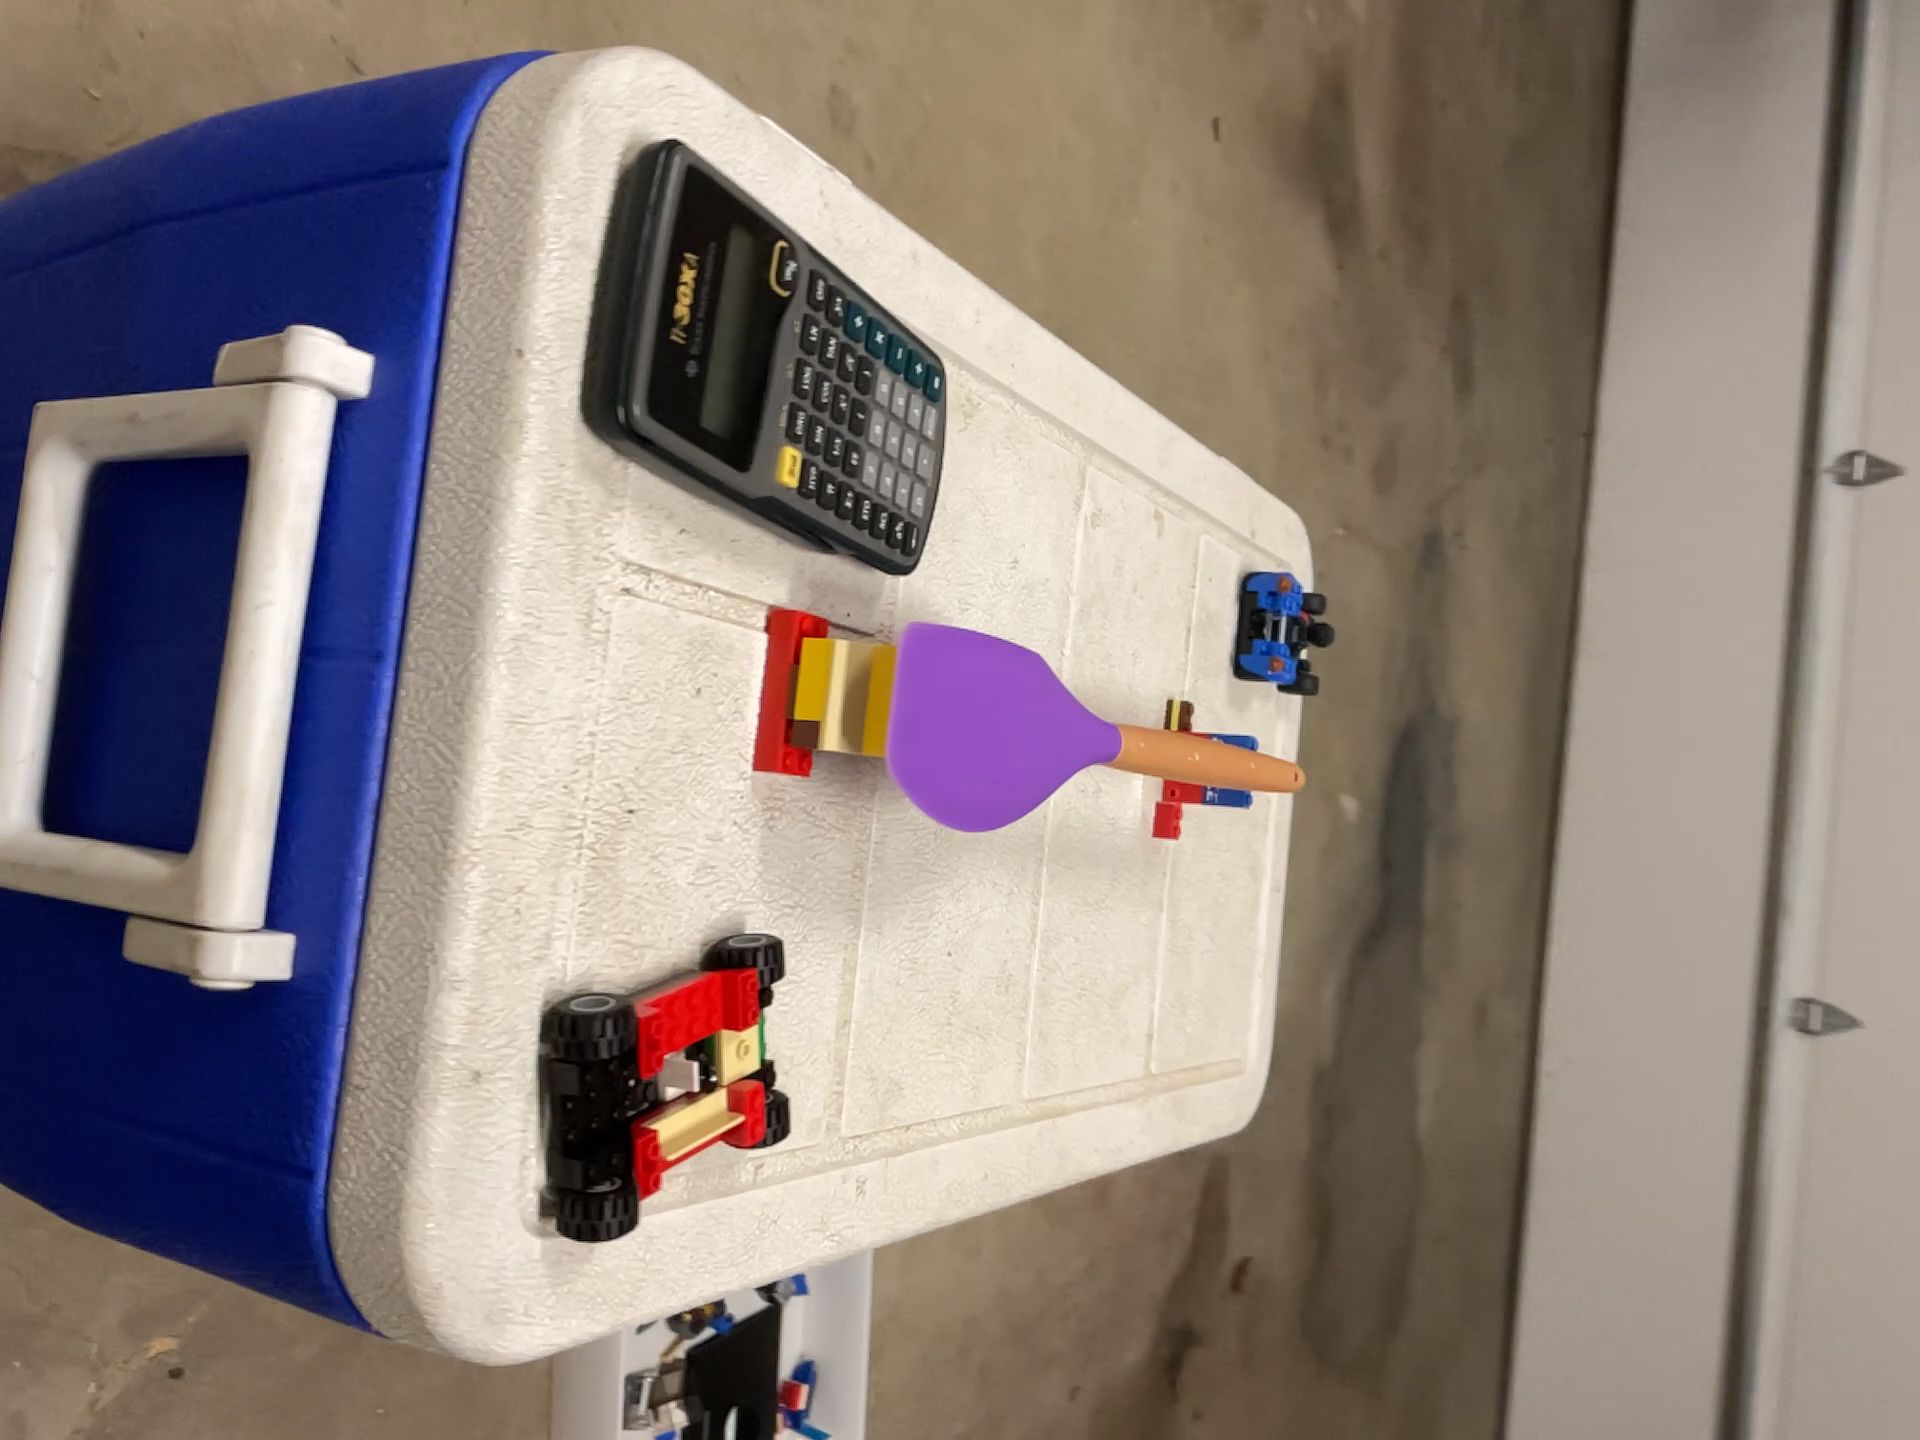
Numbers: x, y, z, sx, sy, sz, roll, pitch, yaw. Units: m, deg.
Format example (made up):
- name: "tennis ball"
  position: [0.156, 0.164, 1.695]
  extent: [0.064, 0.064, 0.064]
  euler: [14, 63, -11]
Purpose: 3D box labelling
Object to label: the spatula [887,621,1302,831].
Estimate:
- name: "spatula"
  position: [0.063, 0.013, 0.573]
  extent: [0.316, 0.018, 0.060]
  euler: [9, 85, -58]
